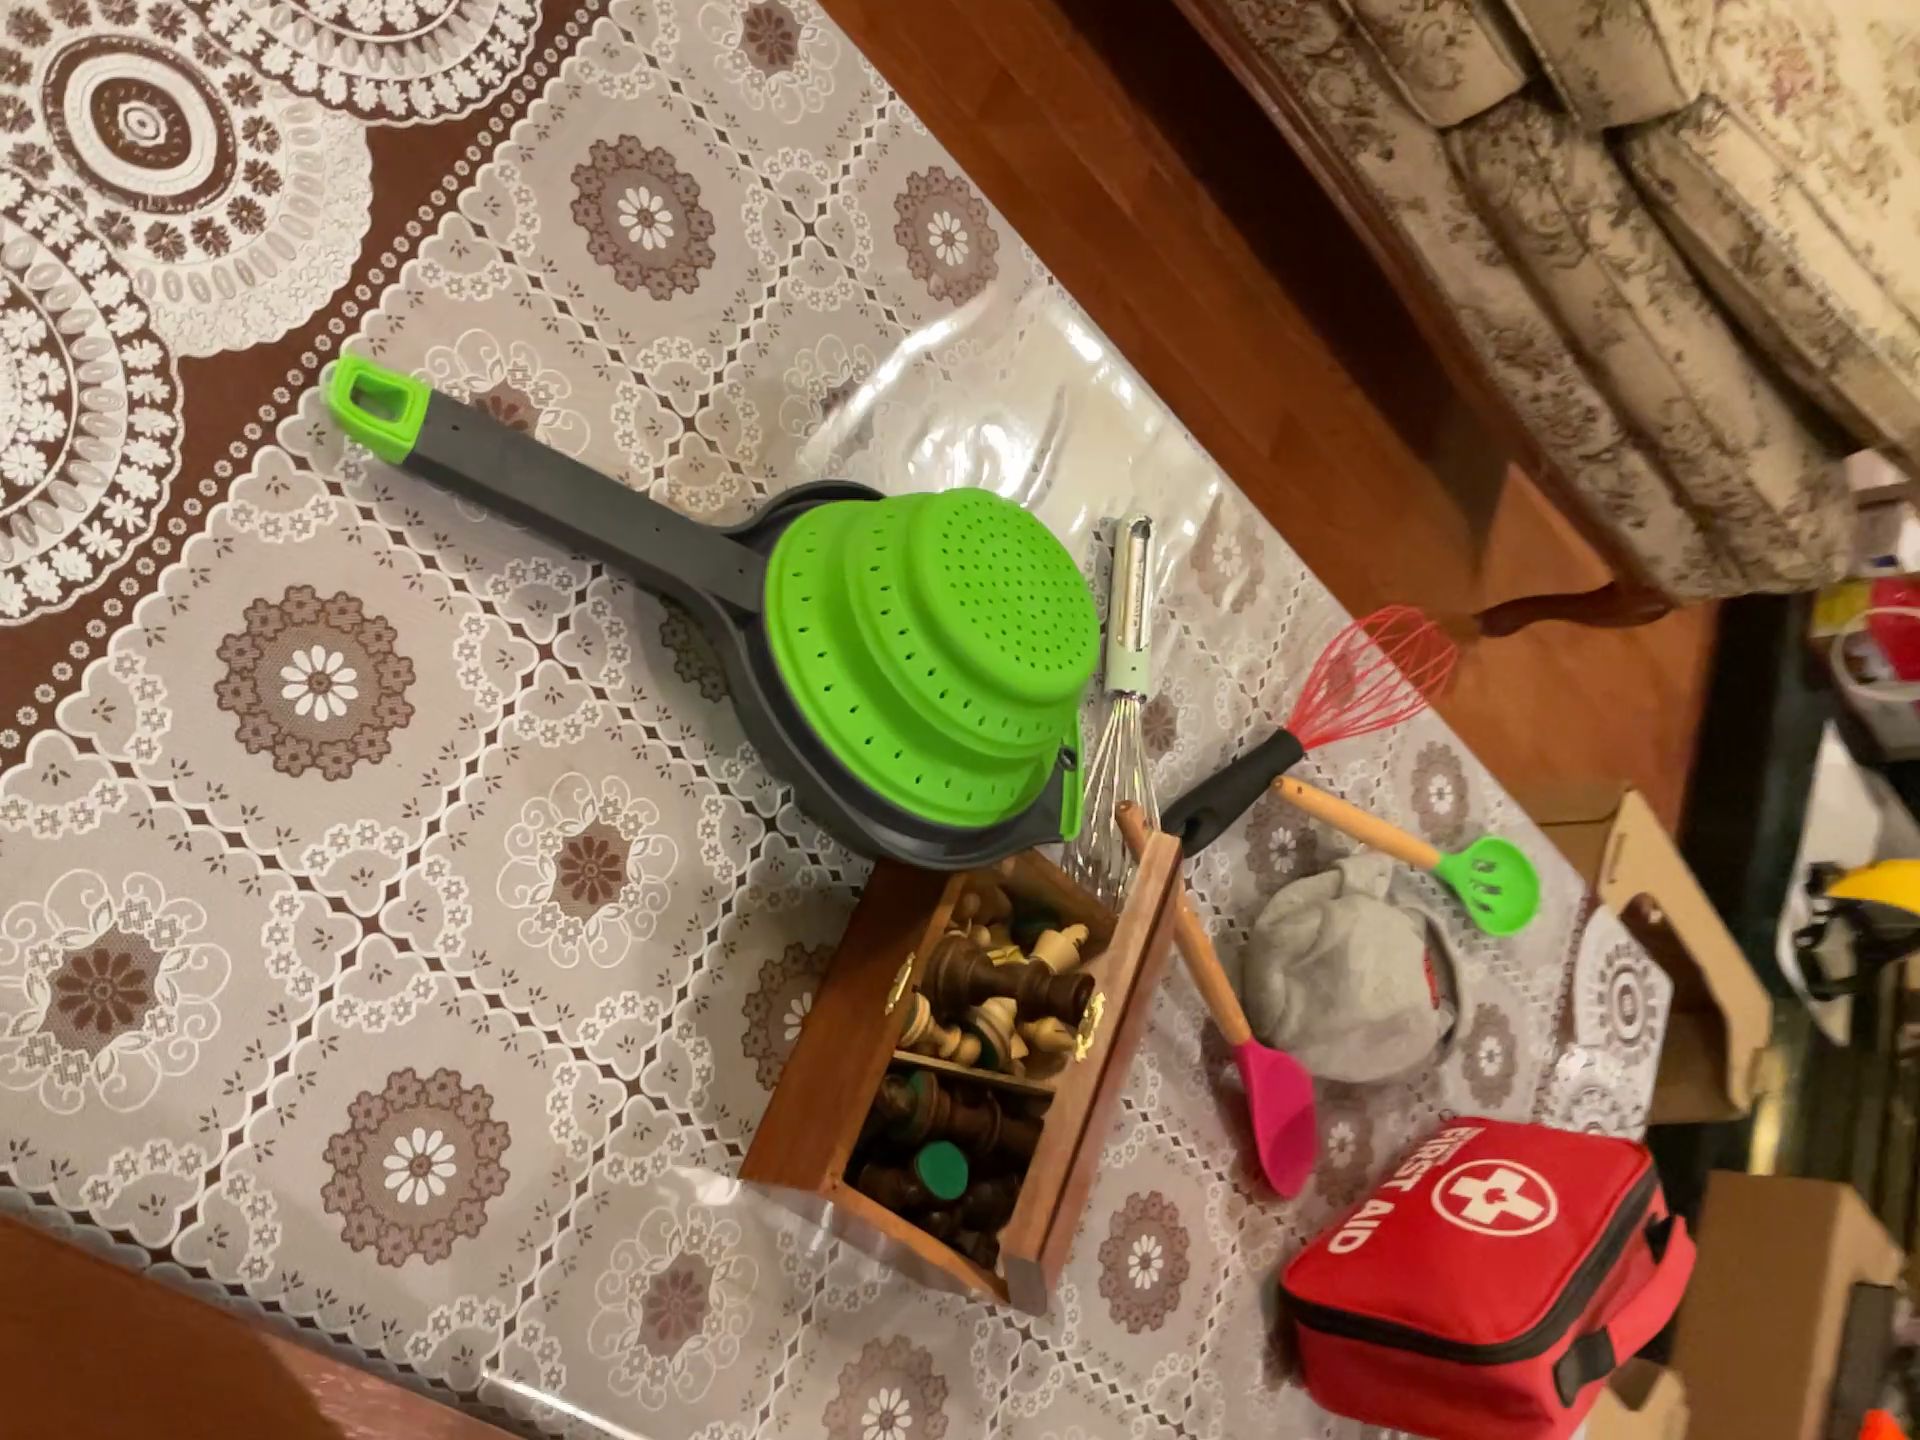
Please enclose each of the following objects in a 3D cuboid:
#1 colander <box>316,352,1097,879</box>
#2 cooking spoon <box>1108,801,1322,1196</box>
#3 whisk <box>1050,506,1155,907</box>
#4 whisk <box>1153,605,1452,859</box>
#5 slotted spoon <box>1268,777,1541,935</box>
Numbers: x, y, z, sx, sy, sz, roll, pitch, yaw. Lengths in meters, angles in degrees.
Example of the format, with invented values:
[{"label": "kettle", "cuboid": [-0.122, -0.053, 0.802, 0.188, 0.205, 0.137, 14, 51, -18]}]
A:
[{"label": "colander", "cuboid": [-0.069, -0.070, 0.688, 0.396, 0.094, 0.205, 26, 47, -29]}, {"label": "cooking spoon", "cuboid": [0.148, 0.161, 0.893, 0.069, 0.017, 0.318, -55, 130, -34]}, {"label": "whisk", "cuboid": [0.088, -0.006, 0.889, 0.057, 0.059, 0.246, 71, 25, -72]}, {"label": "whisk", "cuboid": [0.216, 0.008, 0.990, 0.296, 0.073, 0.073, -33, 113, -33]}, {"label": "slotted spoon", "cuboid": [0.298, 0.084, 1.055, 0.313, 0.031, 0.070, 22, 70, -41]}]
